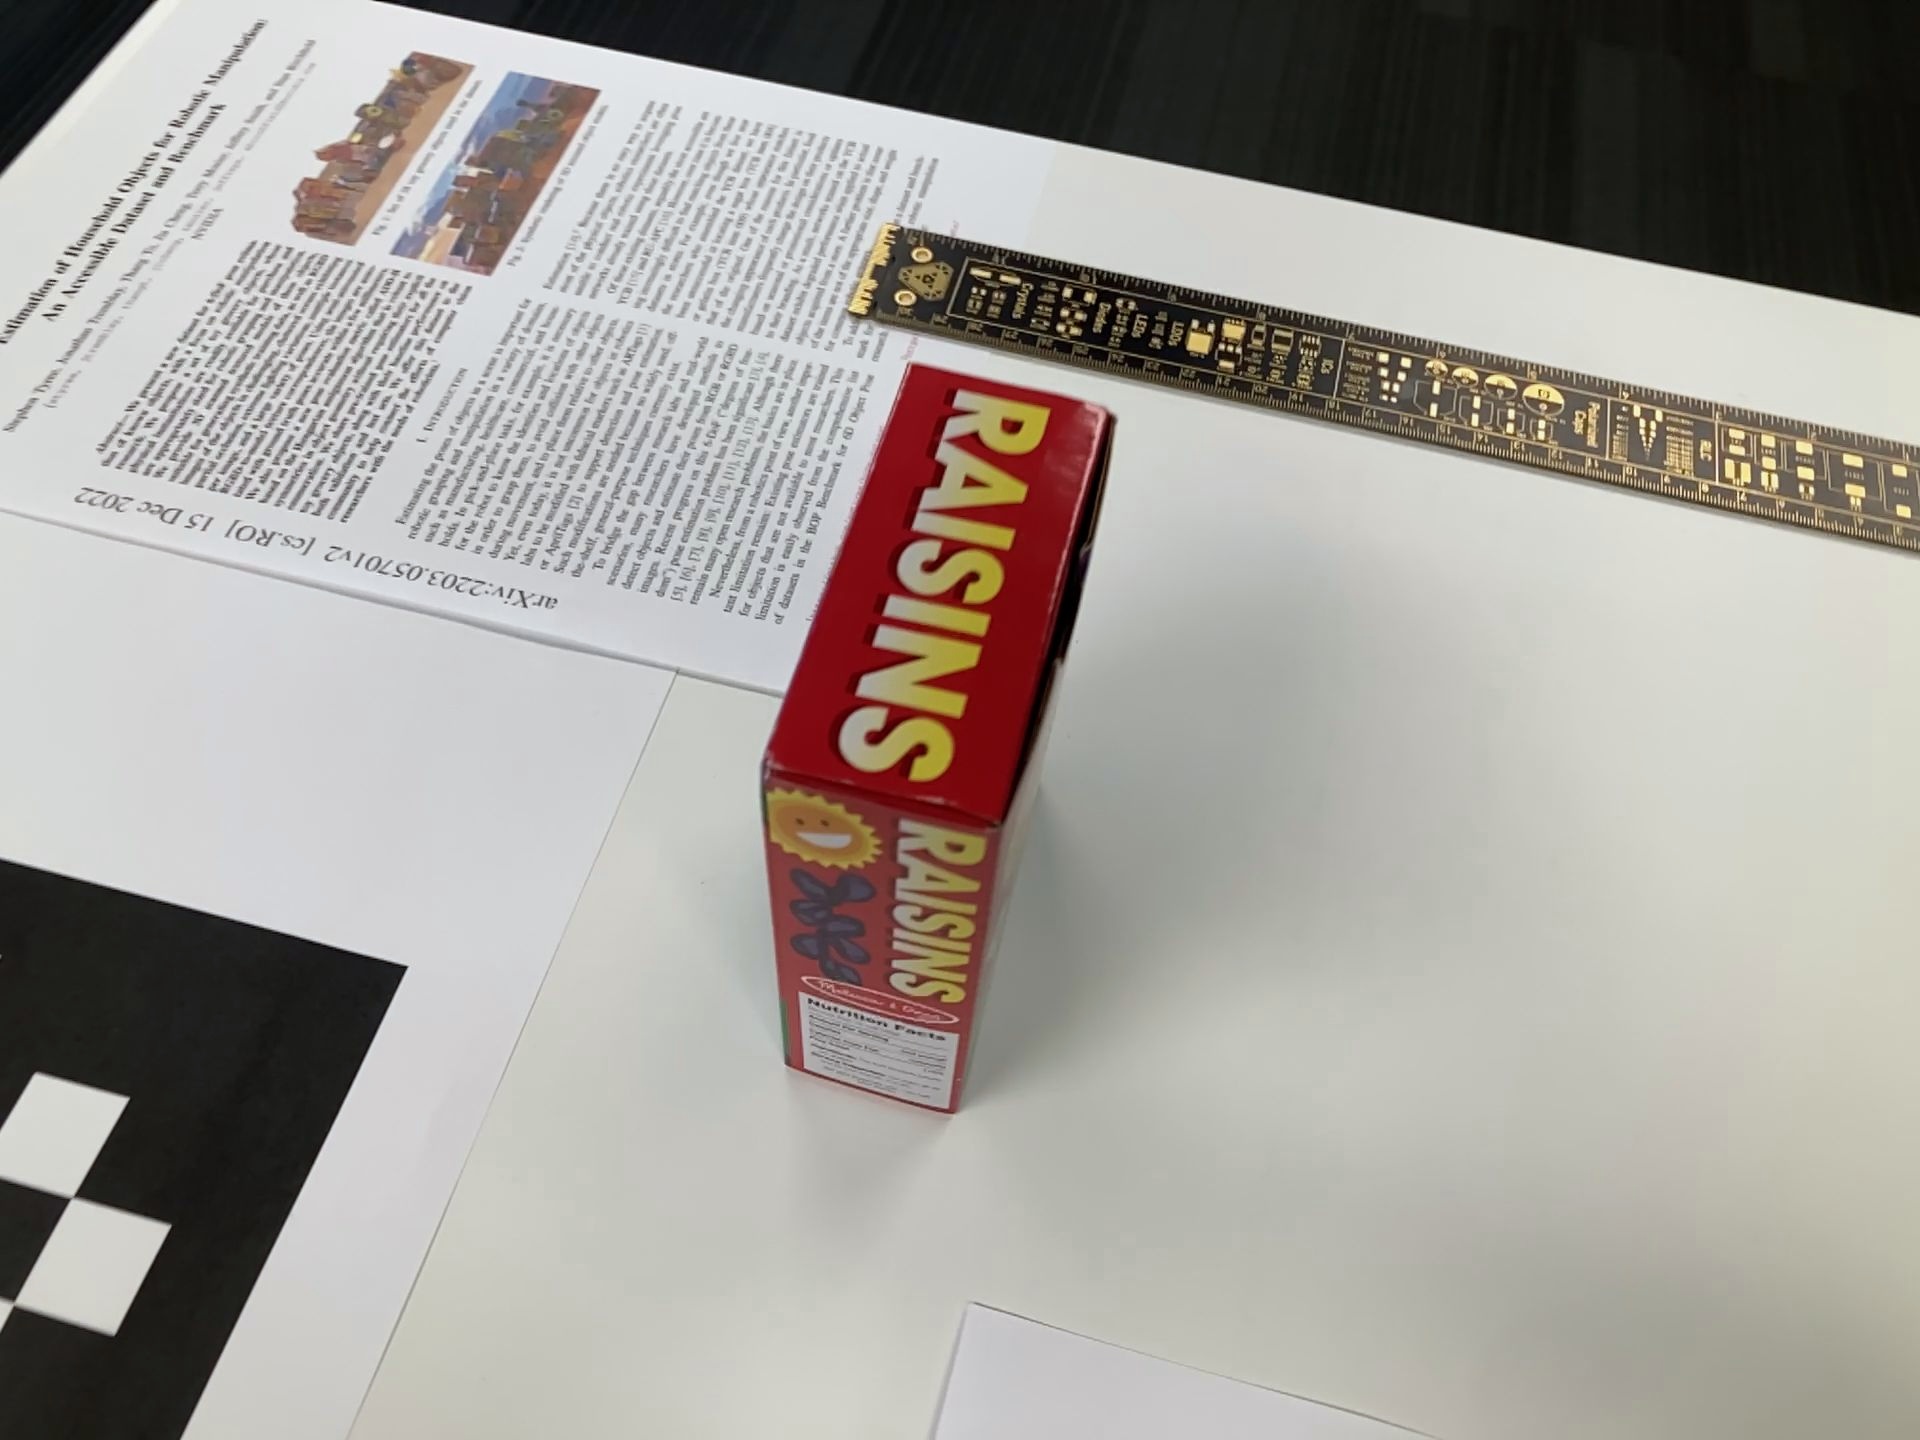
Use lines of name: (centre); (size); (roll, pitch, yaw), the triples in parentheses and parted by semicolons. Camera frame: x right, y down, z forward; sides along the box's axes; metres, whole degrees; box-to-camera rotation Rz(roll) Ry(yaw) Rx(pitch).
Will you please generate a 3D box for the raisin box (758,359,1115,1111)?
raisin box: (-0.005, 0.009, 0.294); (0.040, 0.123, 0.086); (14, 57, 5)
